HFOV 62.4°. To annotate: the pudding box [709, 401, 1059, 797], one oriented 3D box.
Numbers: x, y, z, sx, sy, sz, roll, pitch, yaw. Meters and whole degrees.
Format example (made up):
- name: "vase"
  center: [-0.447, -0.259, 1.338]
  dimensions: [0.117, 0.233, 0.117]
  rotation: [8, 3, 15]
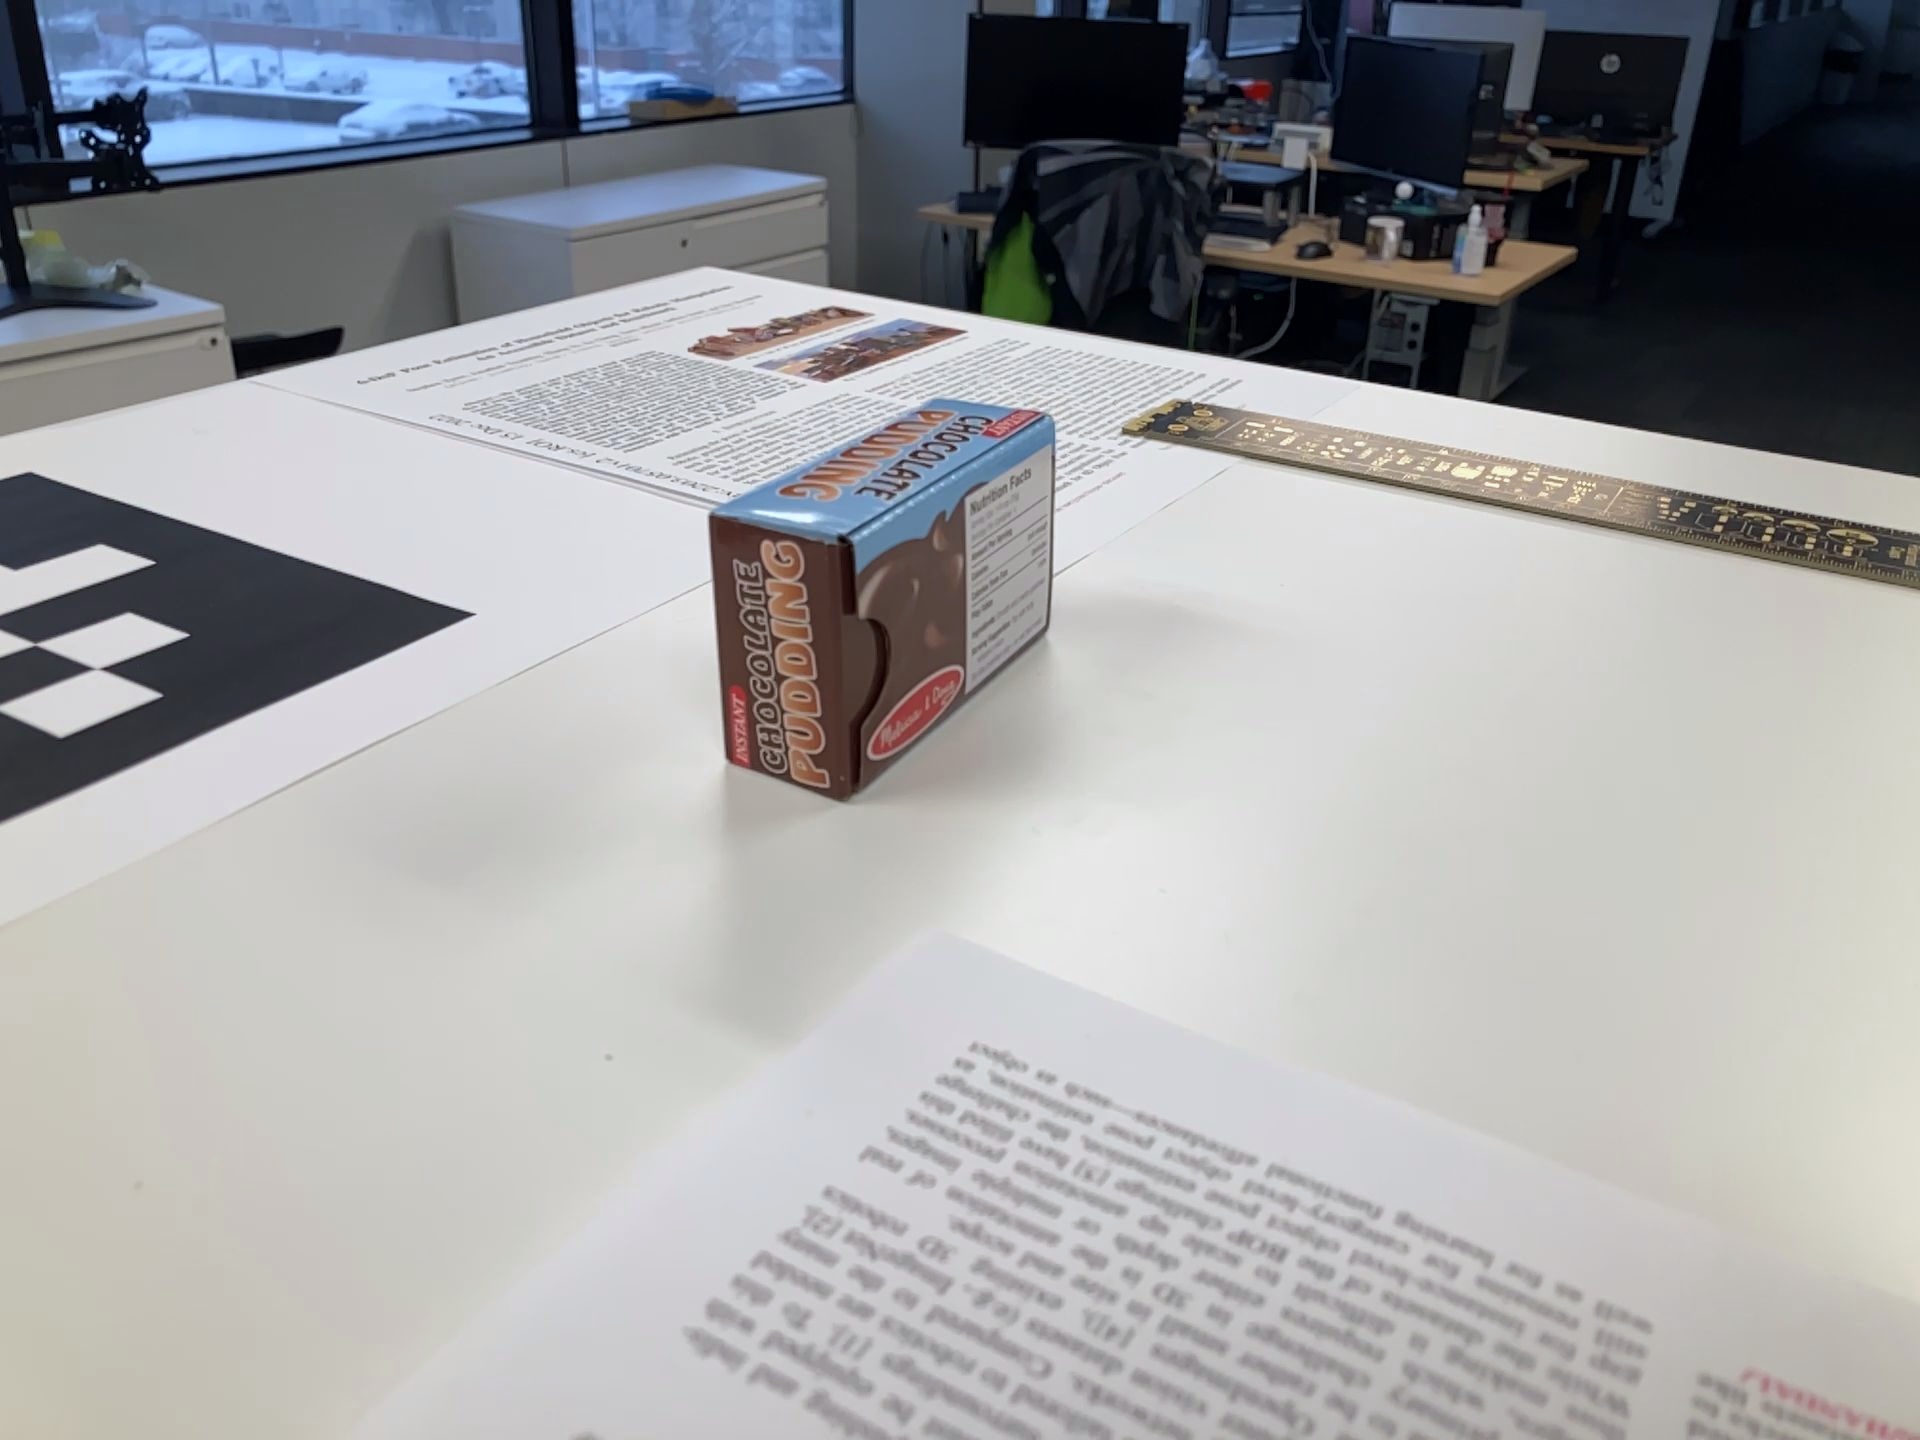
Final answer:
- name: "pudding box"
  center: [-0.011, -0.027, 0.301]
  dimensions: [0.030, 0.049, 0.083]
  rotation: [13, 30, 25]
